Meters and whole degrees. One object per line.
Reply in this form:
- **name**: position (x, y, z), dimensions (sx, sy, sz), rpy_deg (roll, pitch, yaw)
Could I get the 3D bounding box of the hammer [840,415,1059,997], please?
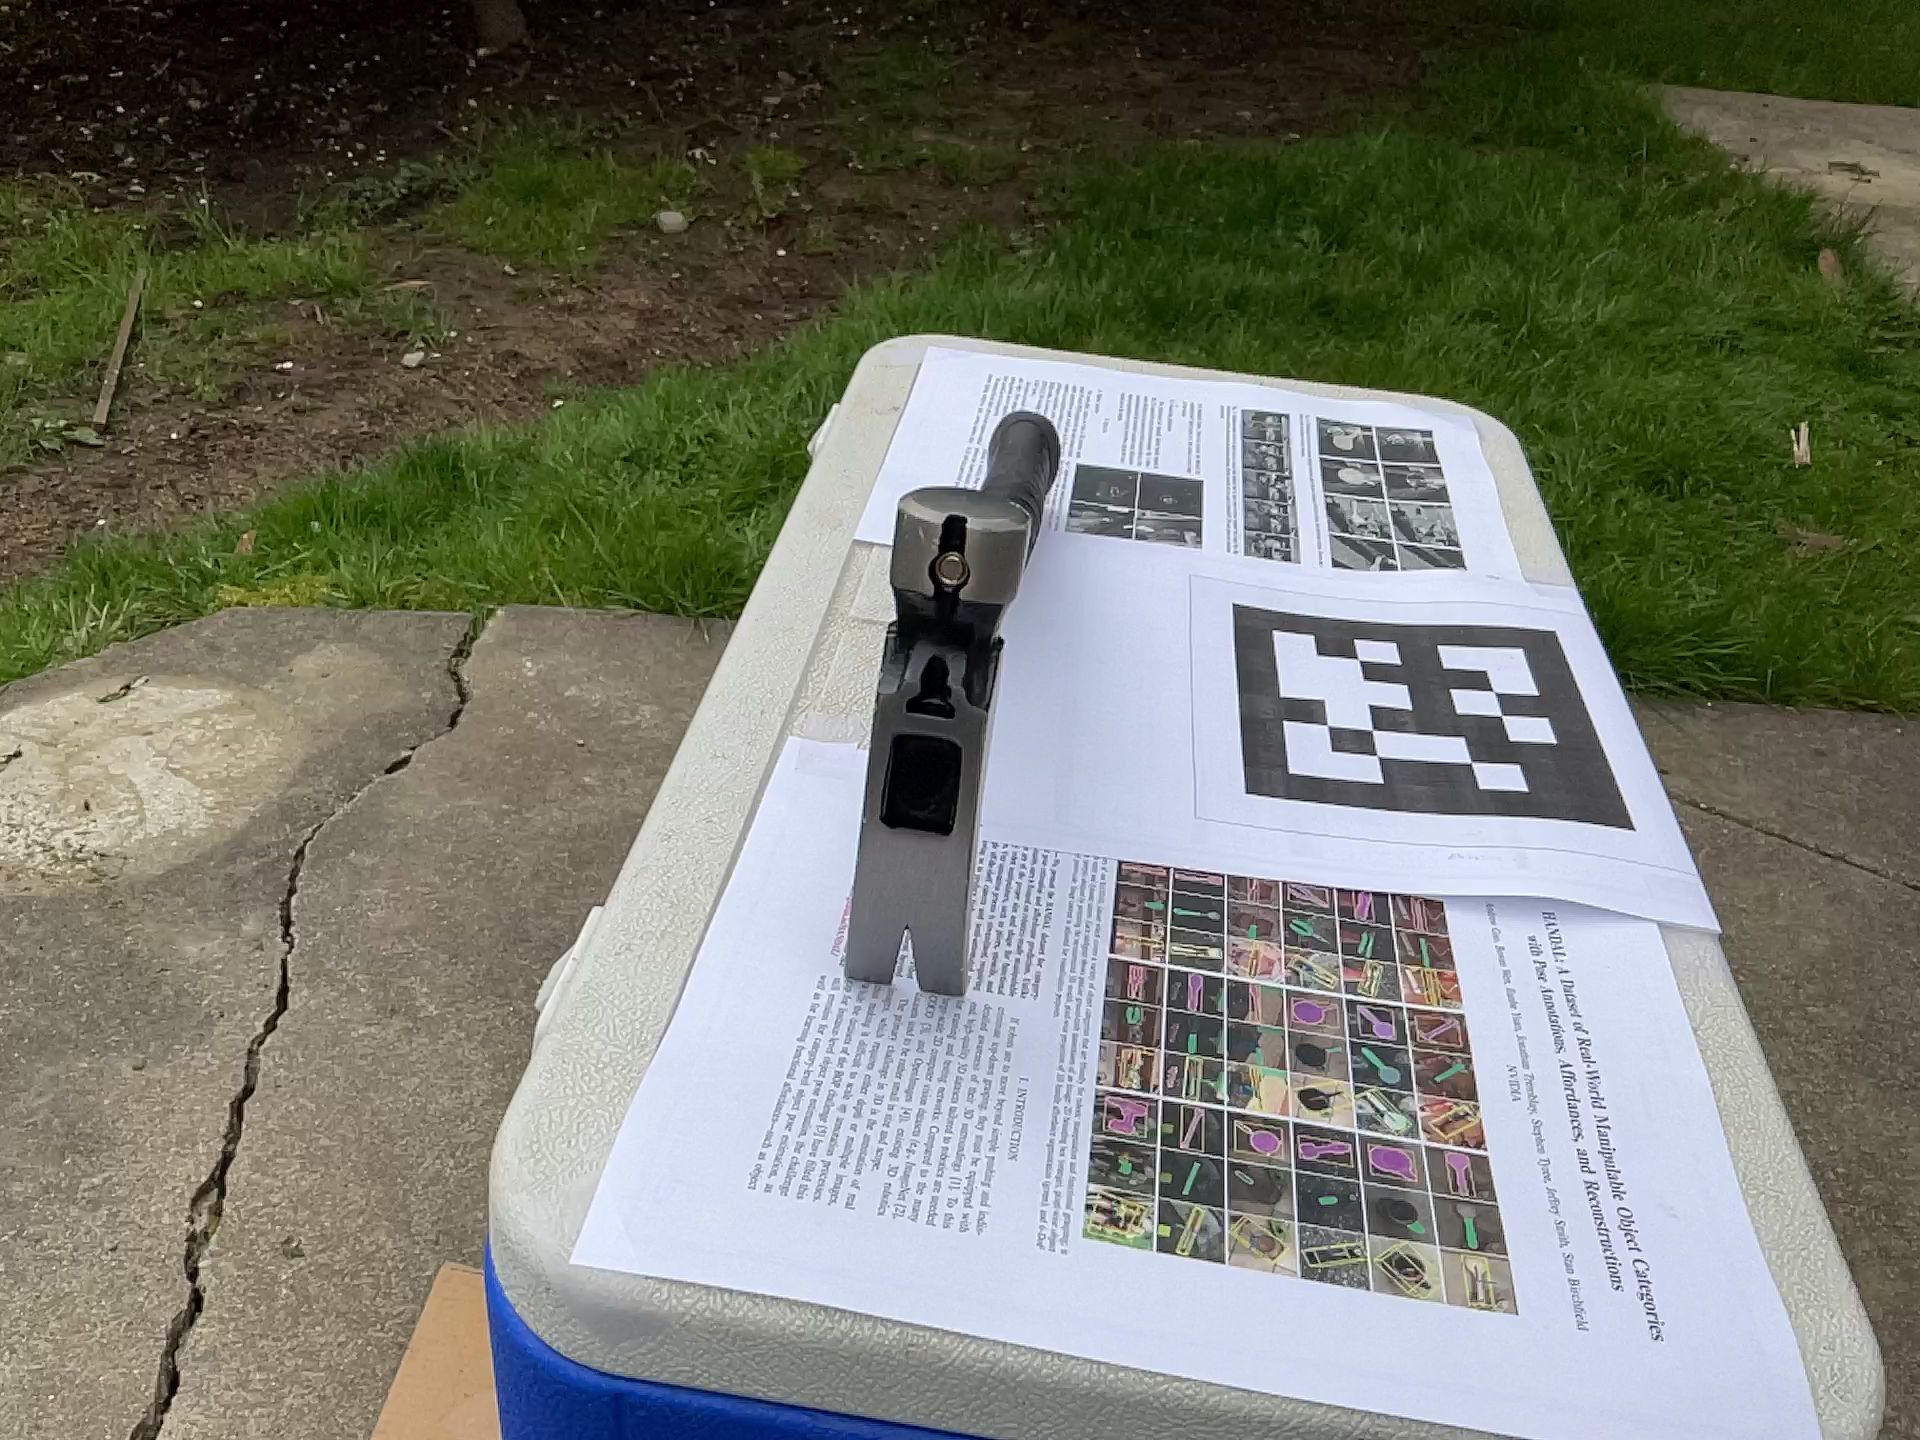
- **hammer**: position (0.008, -0.042, 0.545), dimensions (0.035, 0.146, 0.335), rpy_deg (10, 23, 3)
